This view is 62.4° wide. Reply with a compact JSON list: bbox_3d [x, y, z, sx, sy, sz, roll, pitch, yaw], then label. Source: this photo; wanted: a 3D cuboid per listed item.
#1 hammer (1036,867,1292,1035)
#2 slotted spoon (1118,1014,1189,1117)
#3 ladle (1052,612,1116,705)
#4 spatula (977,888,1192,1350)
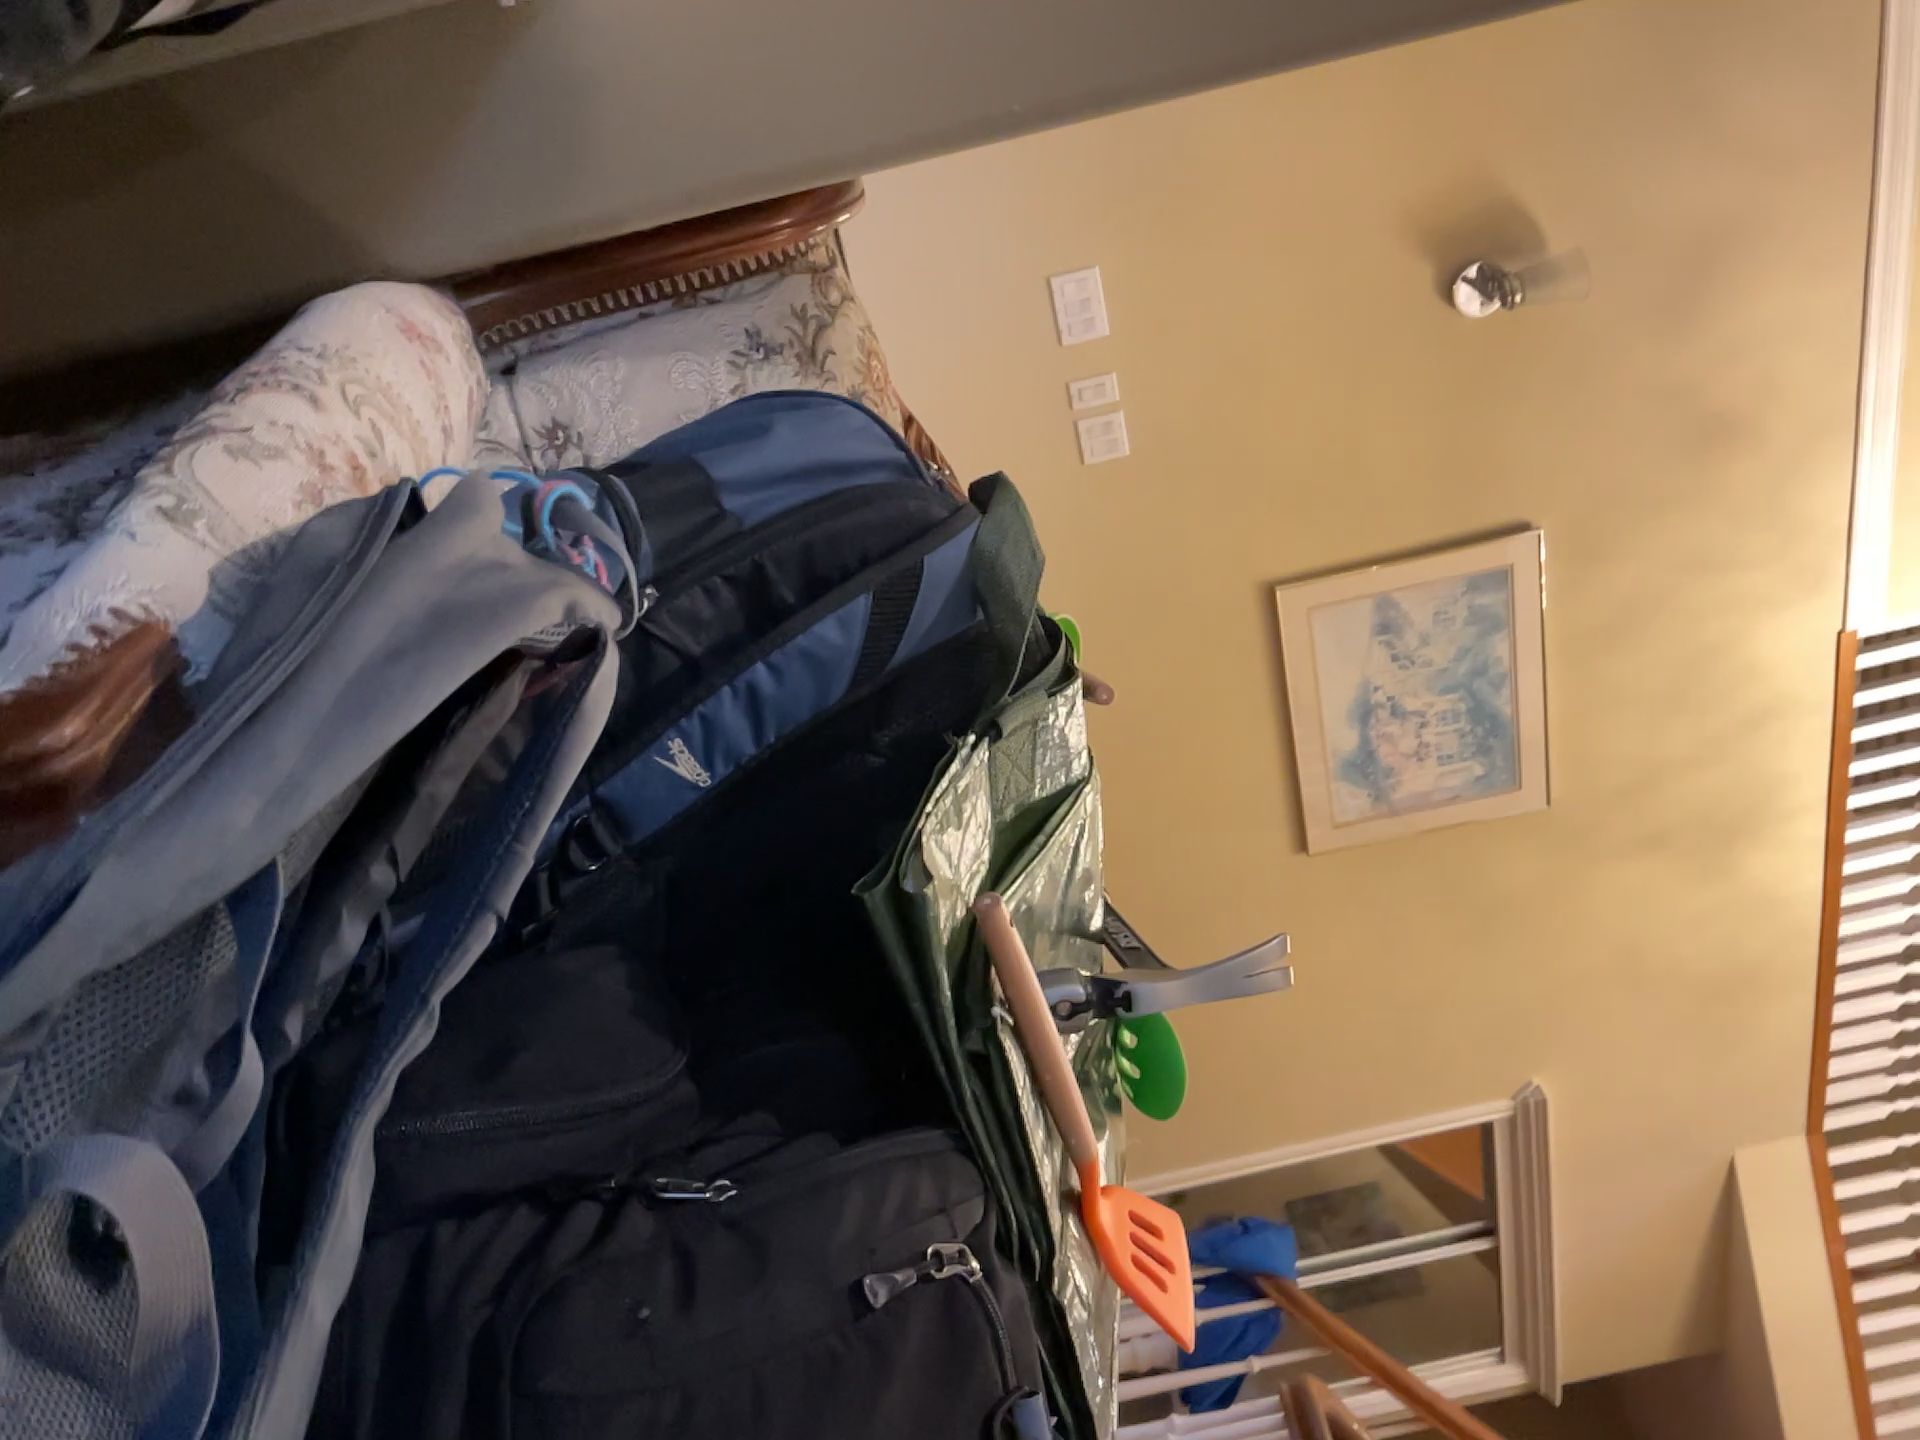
[{"bbox_3d":[0.091,0.122,1.039,0.409,0.149,0.036,-131,-144,-81],"label":"hammer"},{"bbox_3d":[0.096,0.191,1.085,0.314,0.031,0.070,-140,-130,-78],"label":"slotted spoon"},{"bbox_3d":[0.075,-0.028,1.032,0.320,0.062,0.078,-135,-123,-82],"label":"ladle"},{"bbox_3d":[0.064,0.195,0.775,0.081,0.041,0.322,-88,163,-51],"label":"spatula"}]
